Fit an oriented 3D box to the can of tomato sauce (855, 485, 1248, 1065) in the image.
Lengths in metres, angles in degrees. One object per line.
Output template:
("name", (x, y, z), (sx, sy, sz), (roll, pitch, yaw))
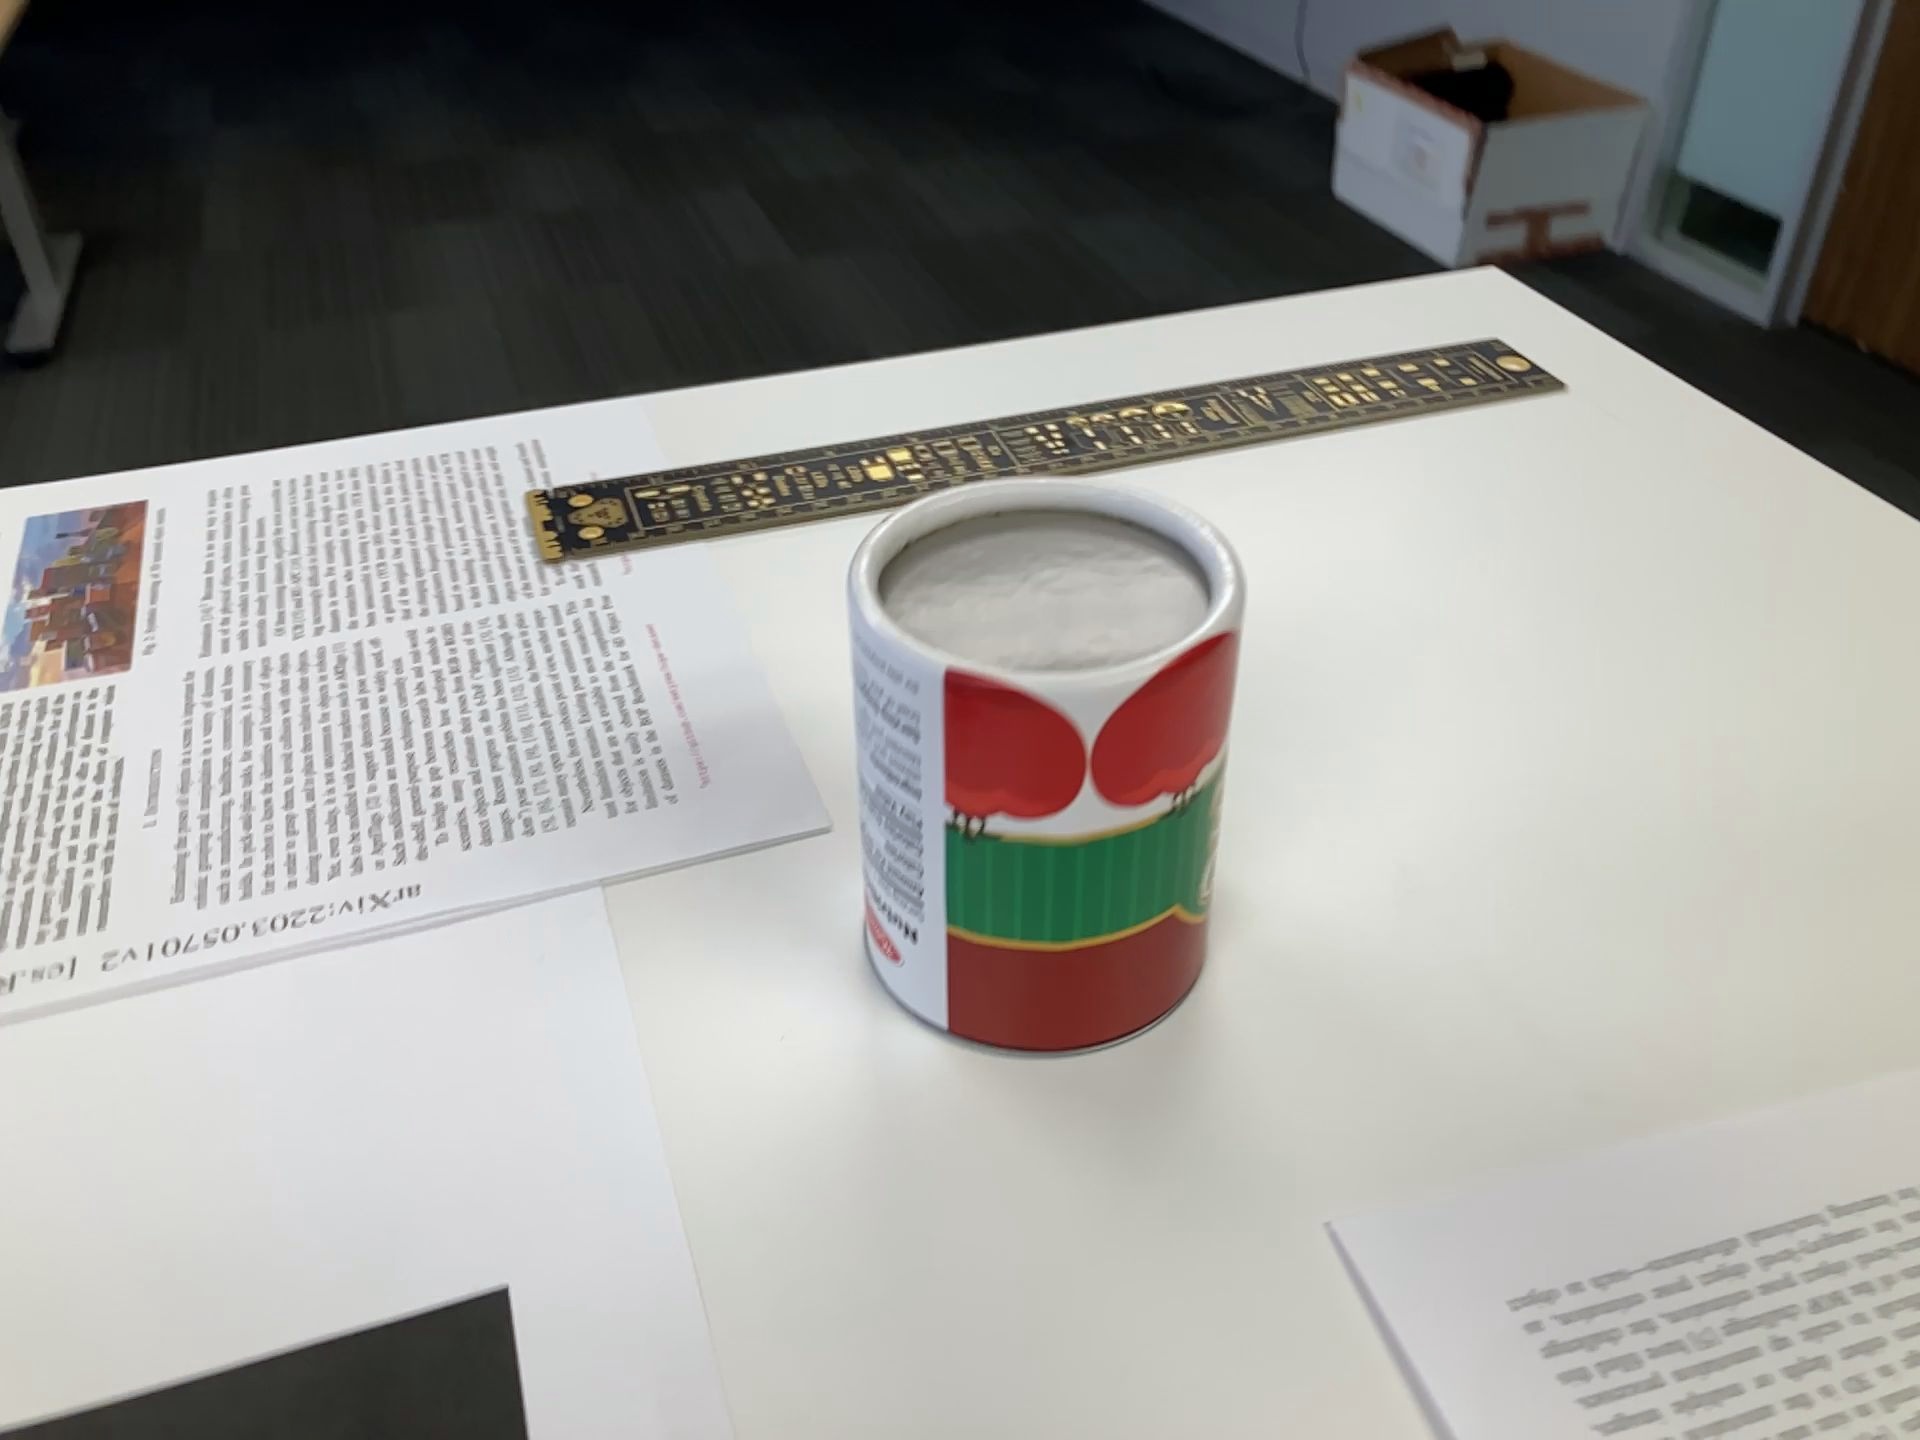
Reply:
("can of tomato sauce", (0.017, 0.008, 0.287), (0.071, 0.083, 0.071), (0, 35, 0))
